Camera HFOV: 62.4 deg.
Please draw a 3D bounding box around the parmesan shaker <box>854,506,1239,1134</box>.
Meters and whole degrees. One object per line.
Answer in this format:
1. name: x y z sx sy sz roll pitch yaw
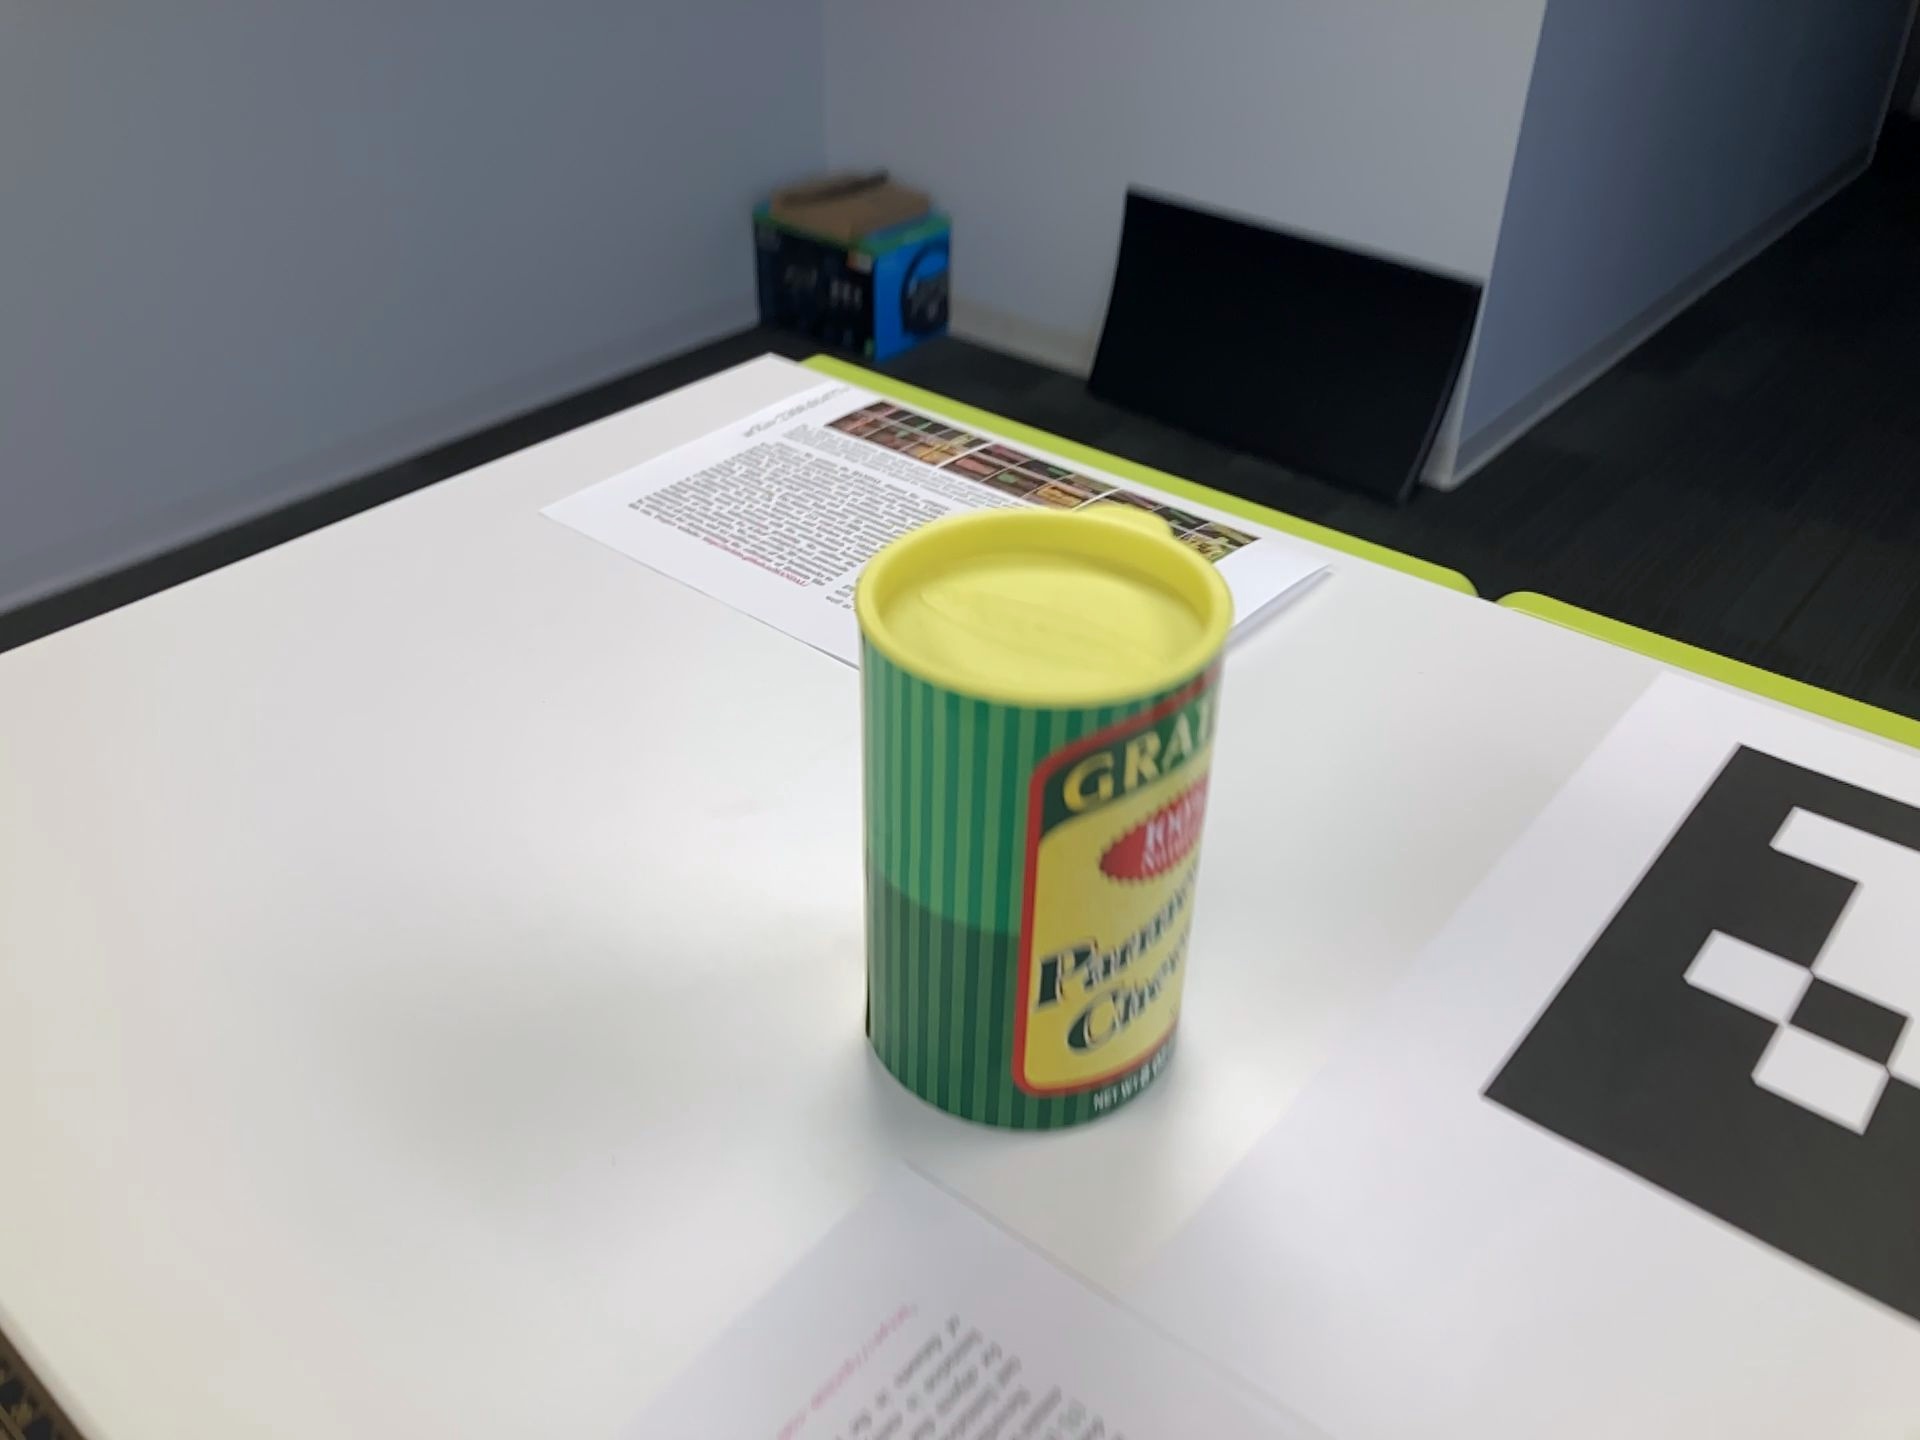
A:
1. parmesan shaker: 0.016 0.019 0.305 0.071 0.103 0.071 0 34 0
